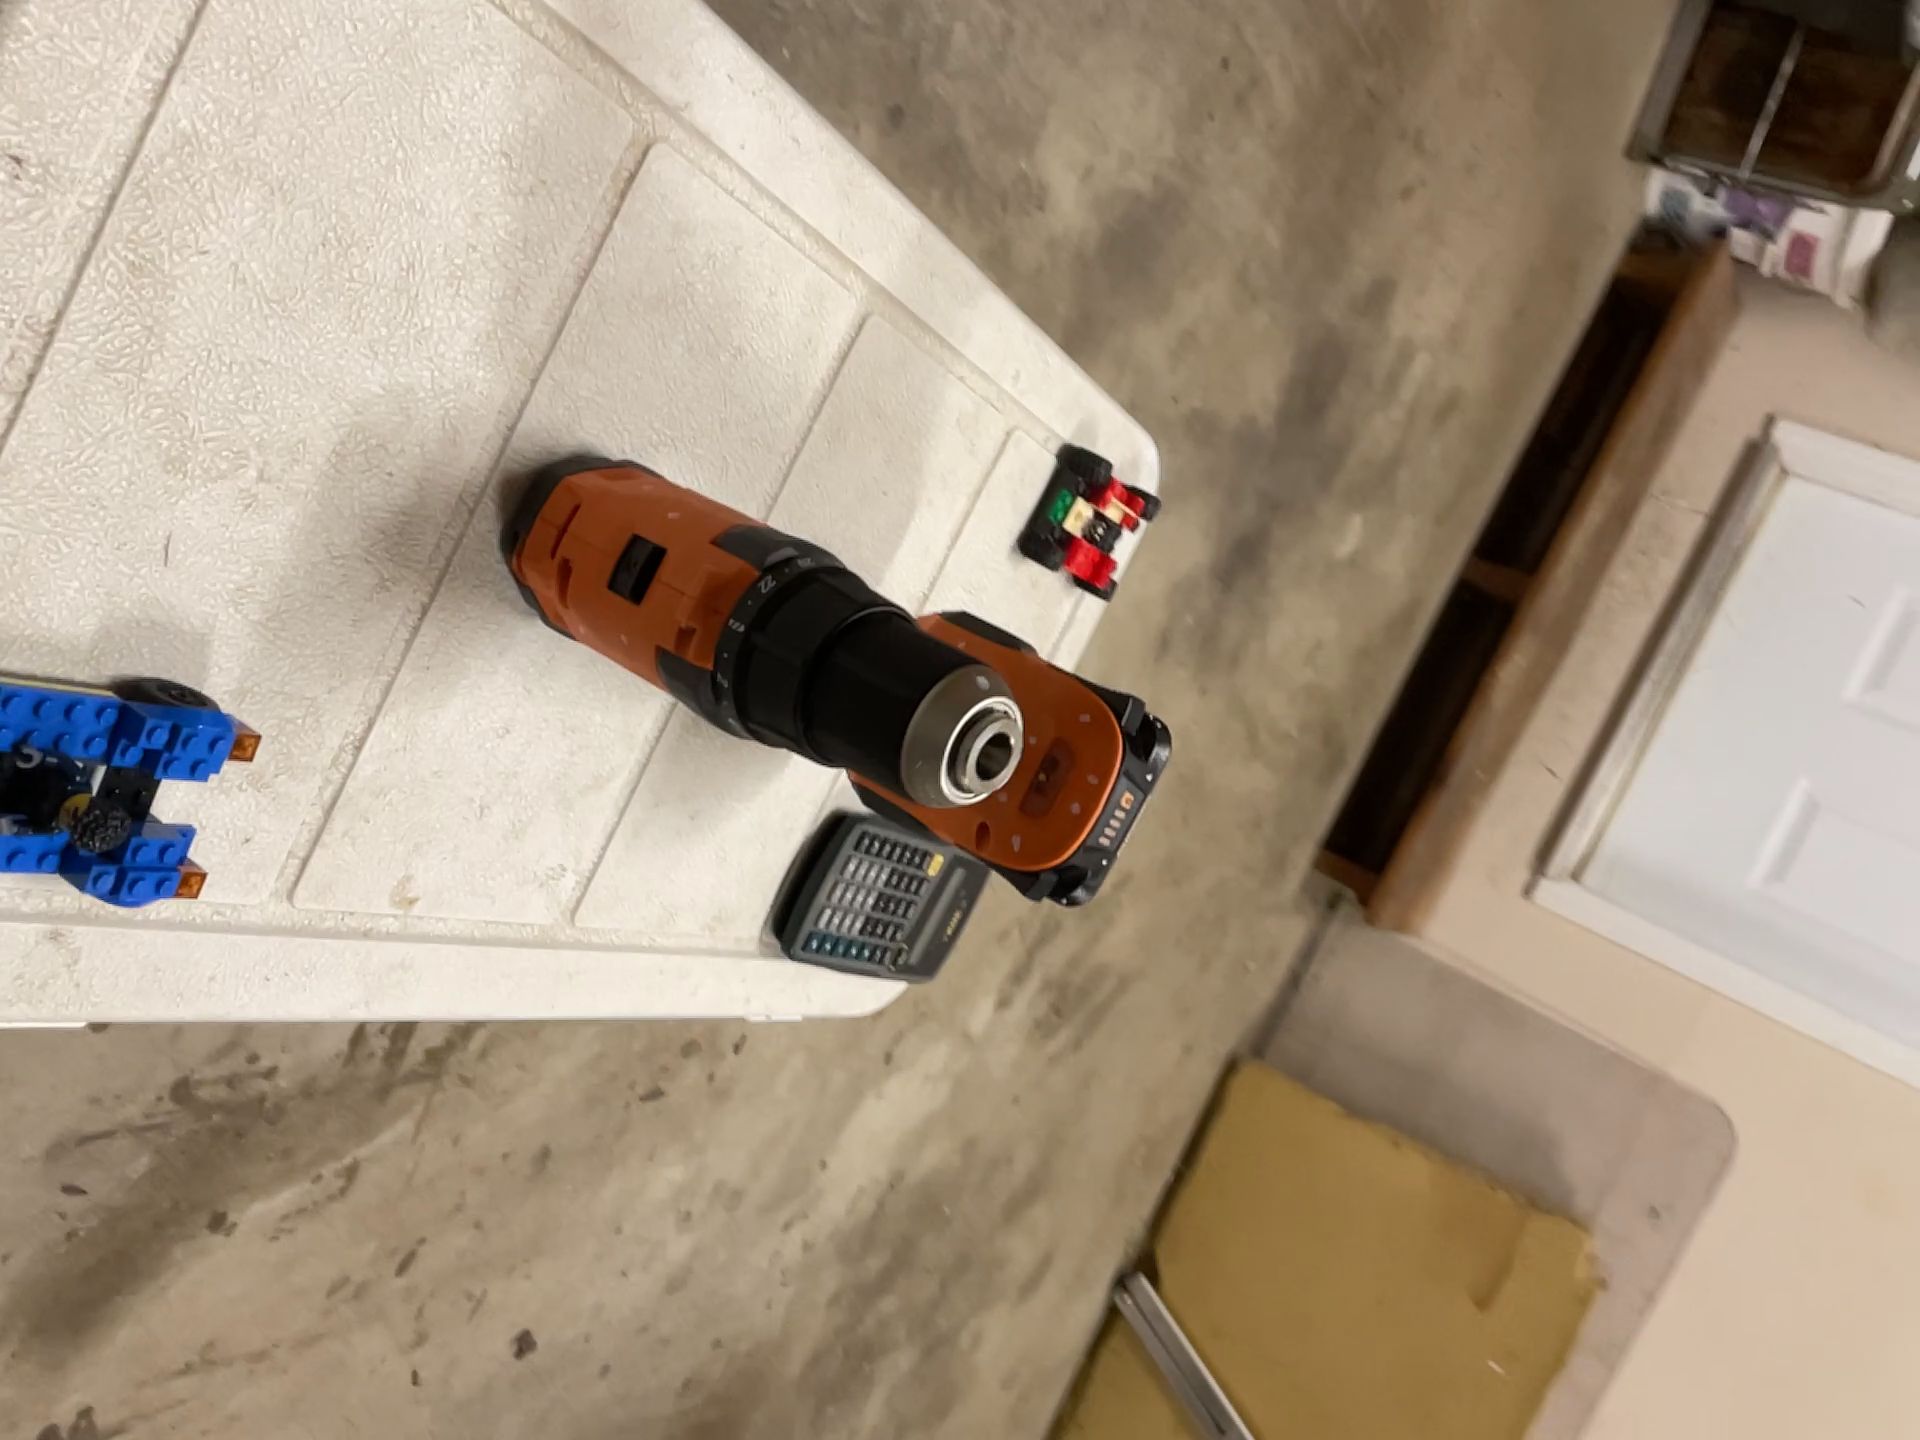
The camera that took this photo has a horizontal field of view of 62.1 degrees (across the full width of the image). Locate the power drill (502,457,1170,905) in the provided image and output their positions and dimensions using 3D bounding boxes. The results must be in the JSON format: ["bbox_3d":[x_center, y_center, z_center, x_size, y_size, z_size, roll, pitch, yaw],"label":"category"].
[{"bbox_3d":[-0.015,-0.003,0.523,0.226,0.185,0.084,28,89,-53],"label":"power drill"}]
